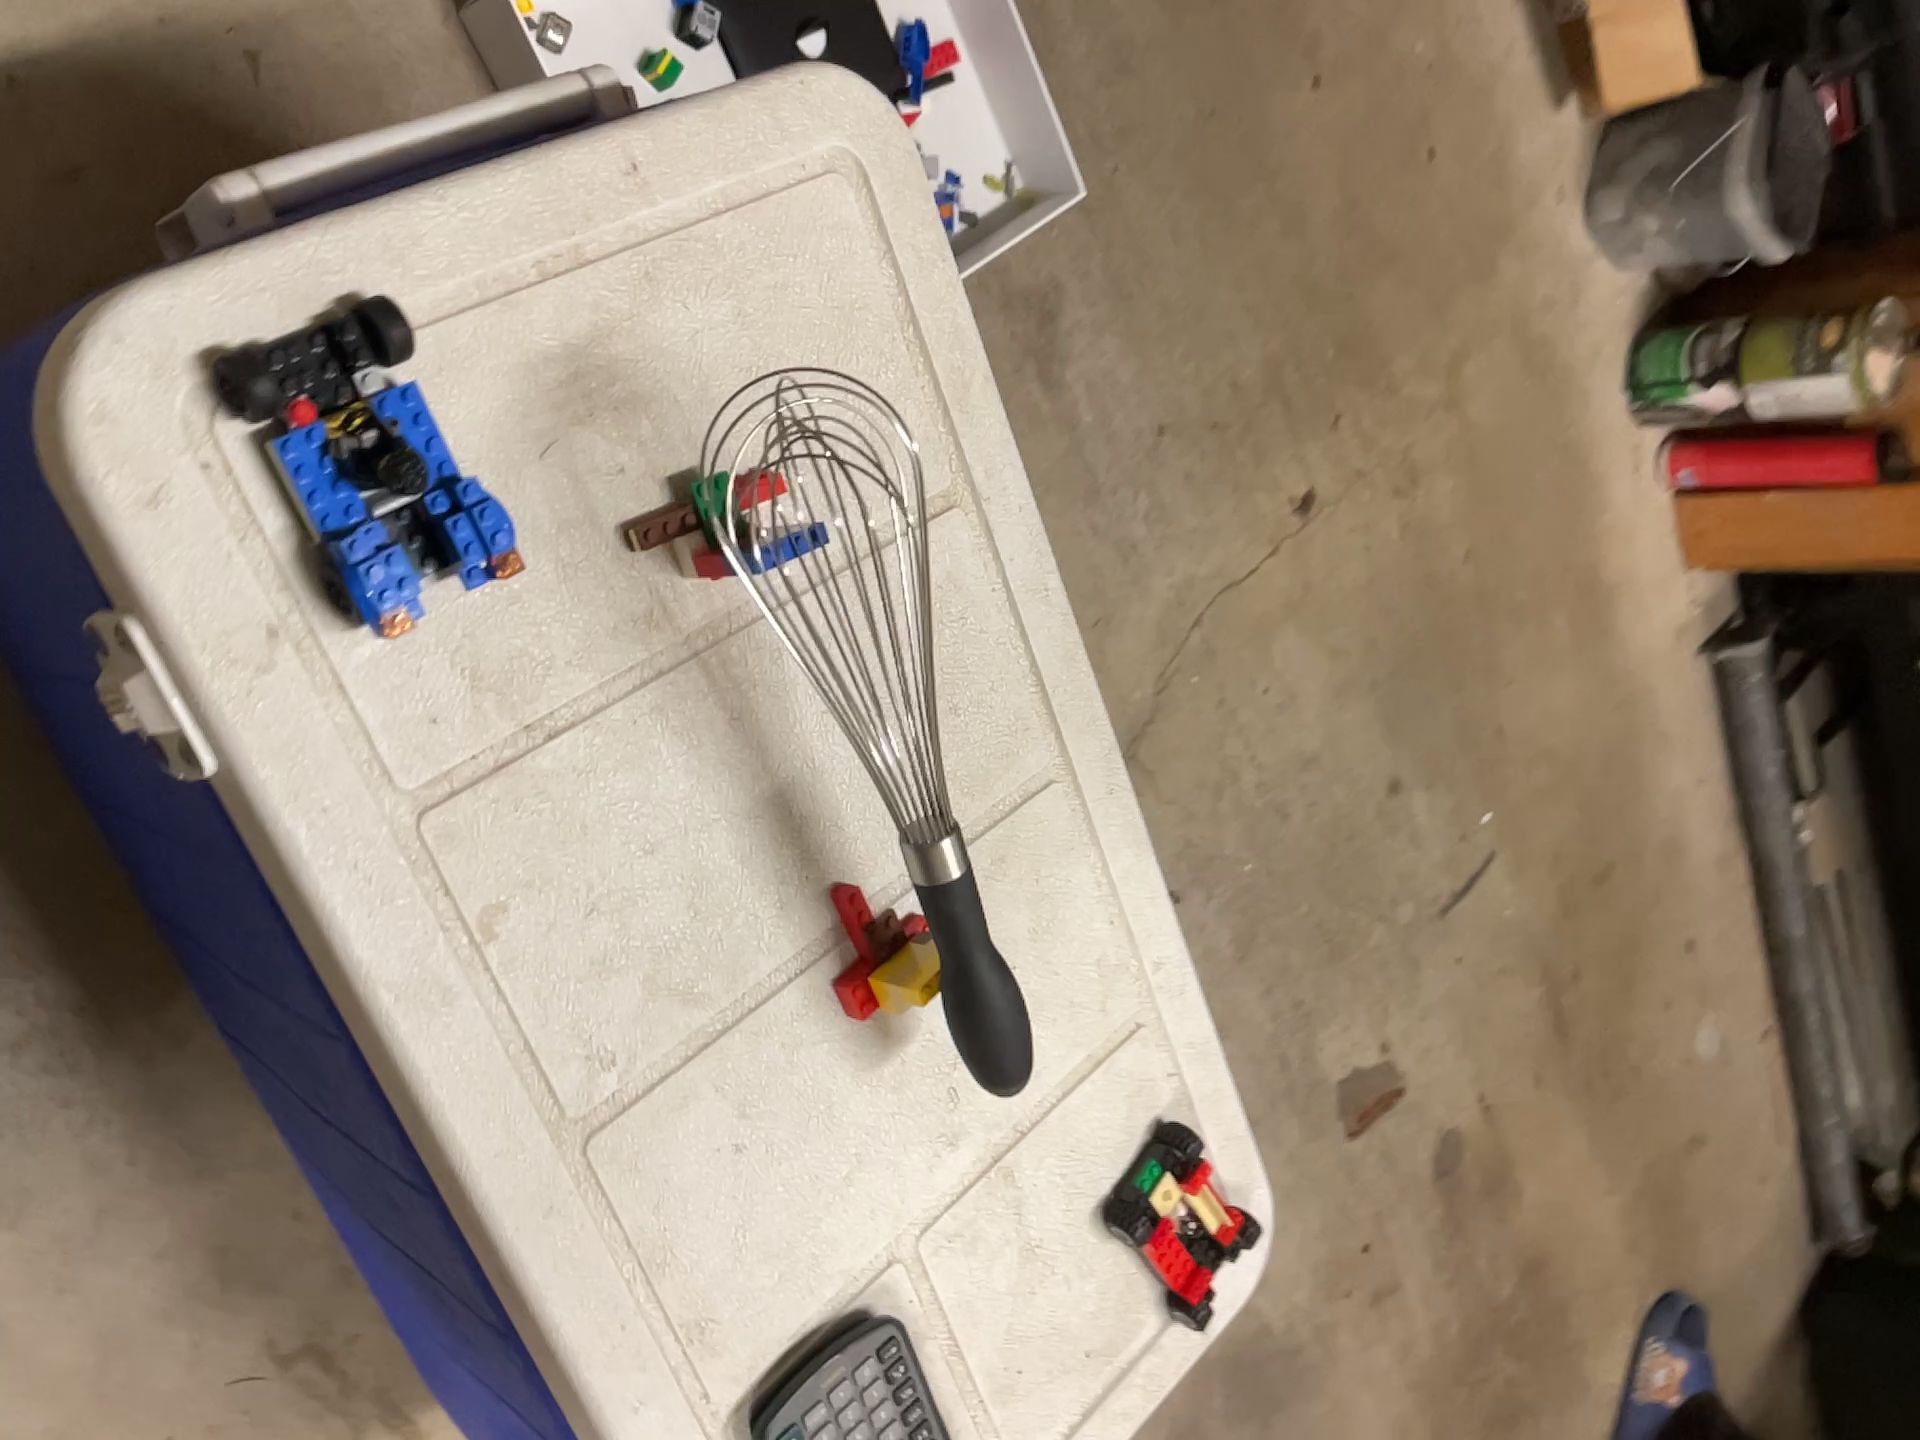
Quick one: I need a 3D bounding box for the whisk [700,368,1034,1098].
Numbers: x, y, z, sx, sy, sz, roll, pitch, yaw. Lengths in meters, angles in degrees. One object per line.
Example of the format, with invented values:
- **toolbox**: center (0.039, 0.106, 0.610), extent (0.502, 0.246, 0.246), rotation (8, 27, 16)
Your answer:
- **whisk**: center (-0.017, 0.017, 0.546), extent (0.070, 0.070, 0.284), rotation (-39, 123, -38)
